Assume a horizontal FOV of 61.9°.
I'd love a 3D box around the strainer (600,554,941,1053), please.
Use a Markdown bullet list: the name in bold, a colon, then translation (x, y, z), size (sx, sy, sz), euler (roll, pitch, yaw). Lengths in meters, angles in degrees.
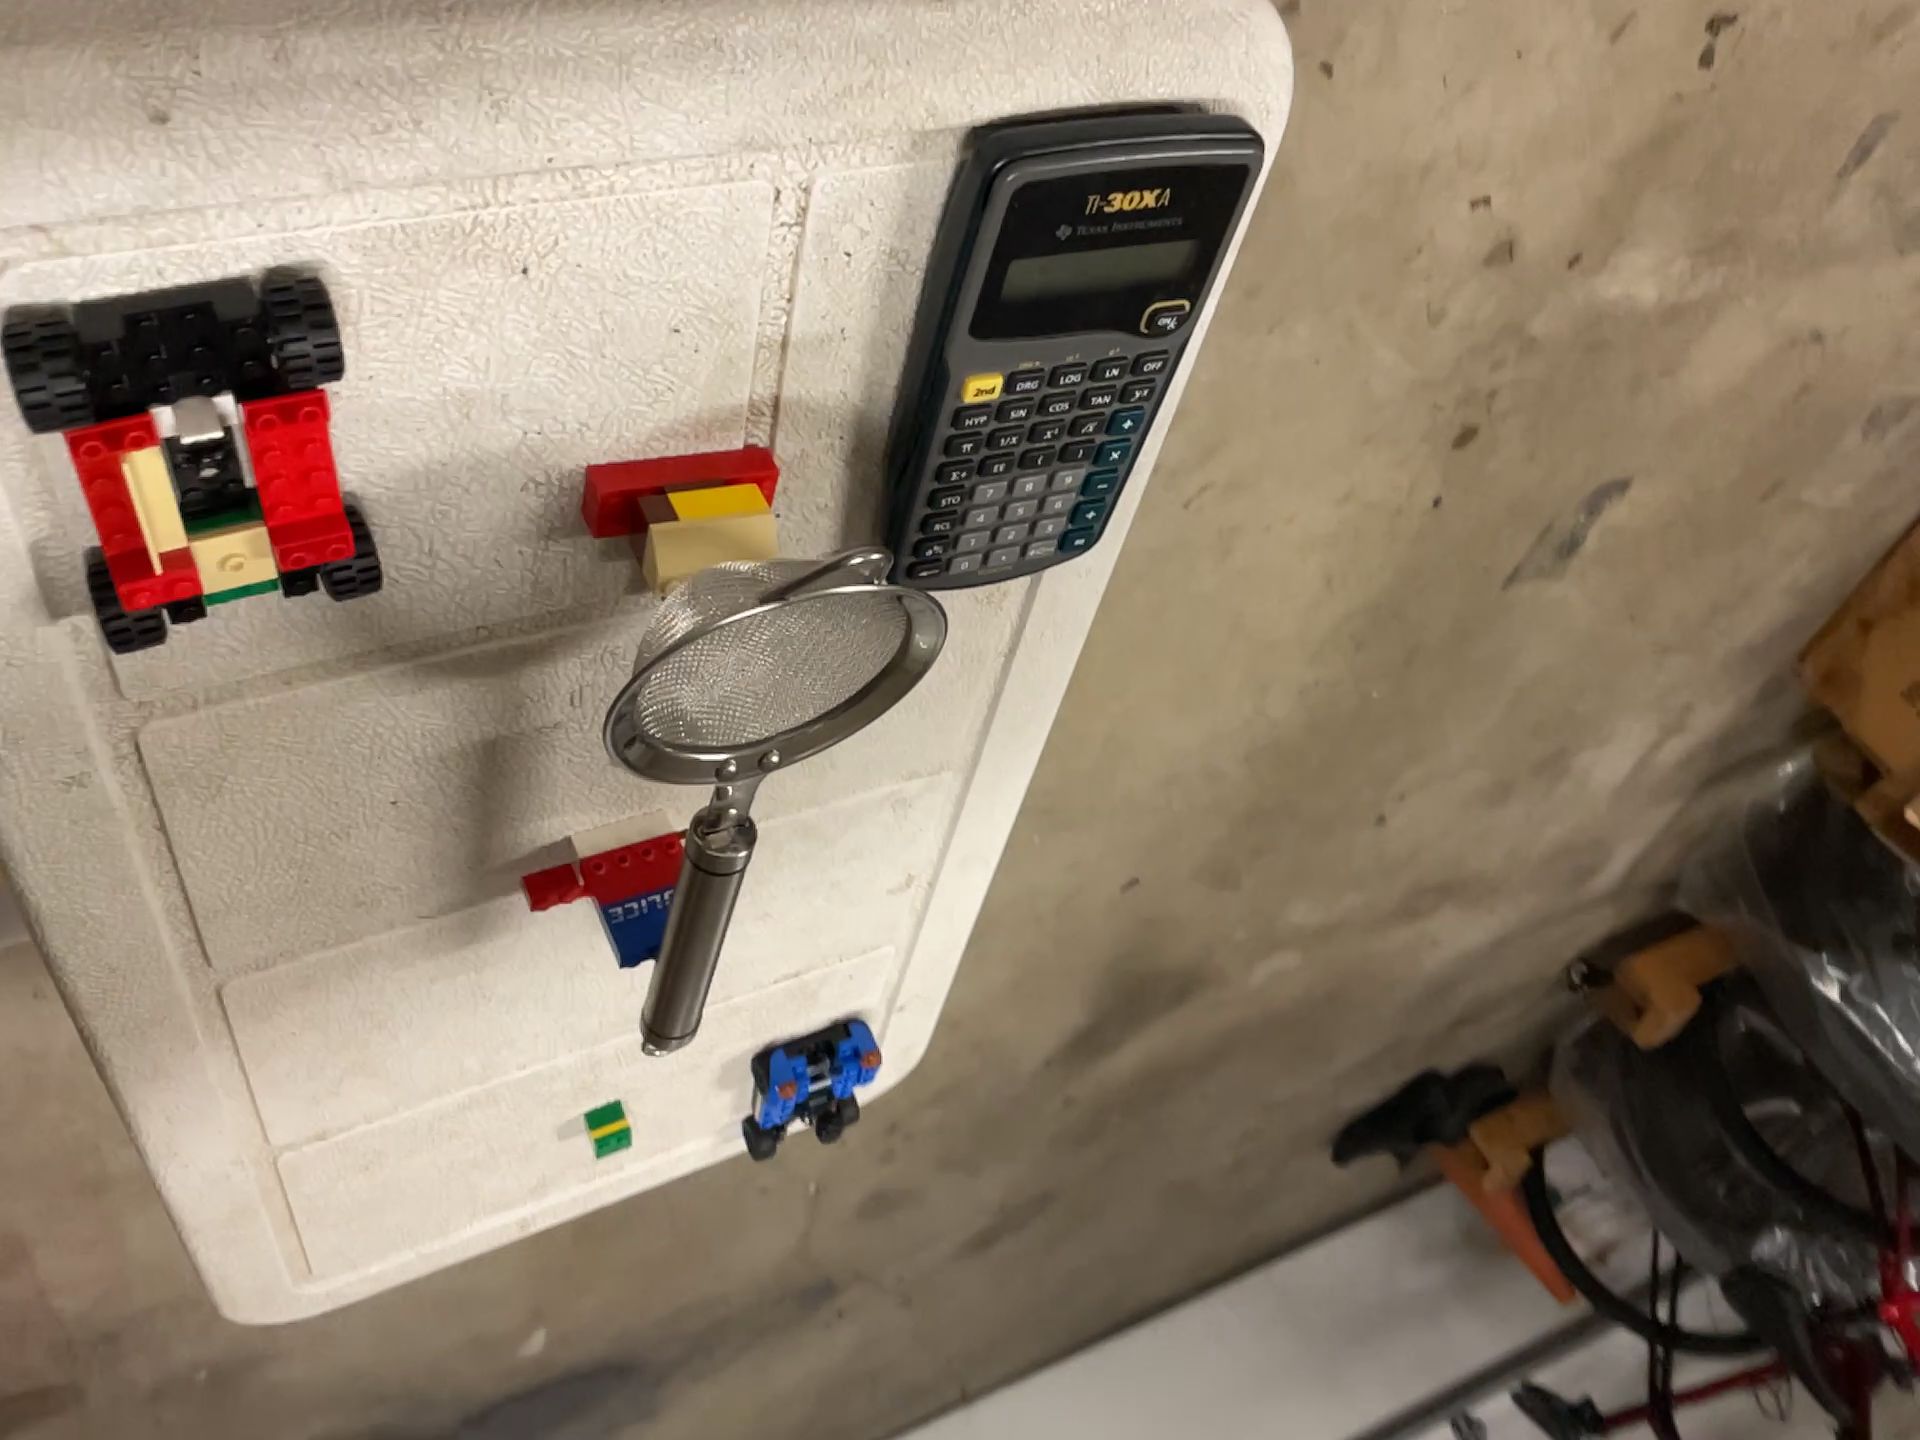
- **strainer**: translation (-0.067, 0.029, 0.442), size (0.087, 0.050, 0.258), euler (-11, 146, -28)
